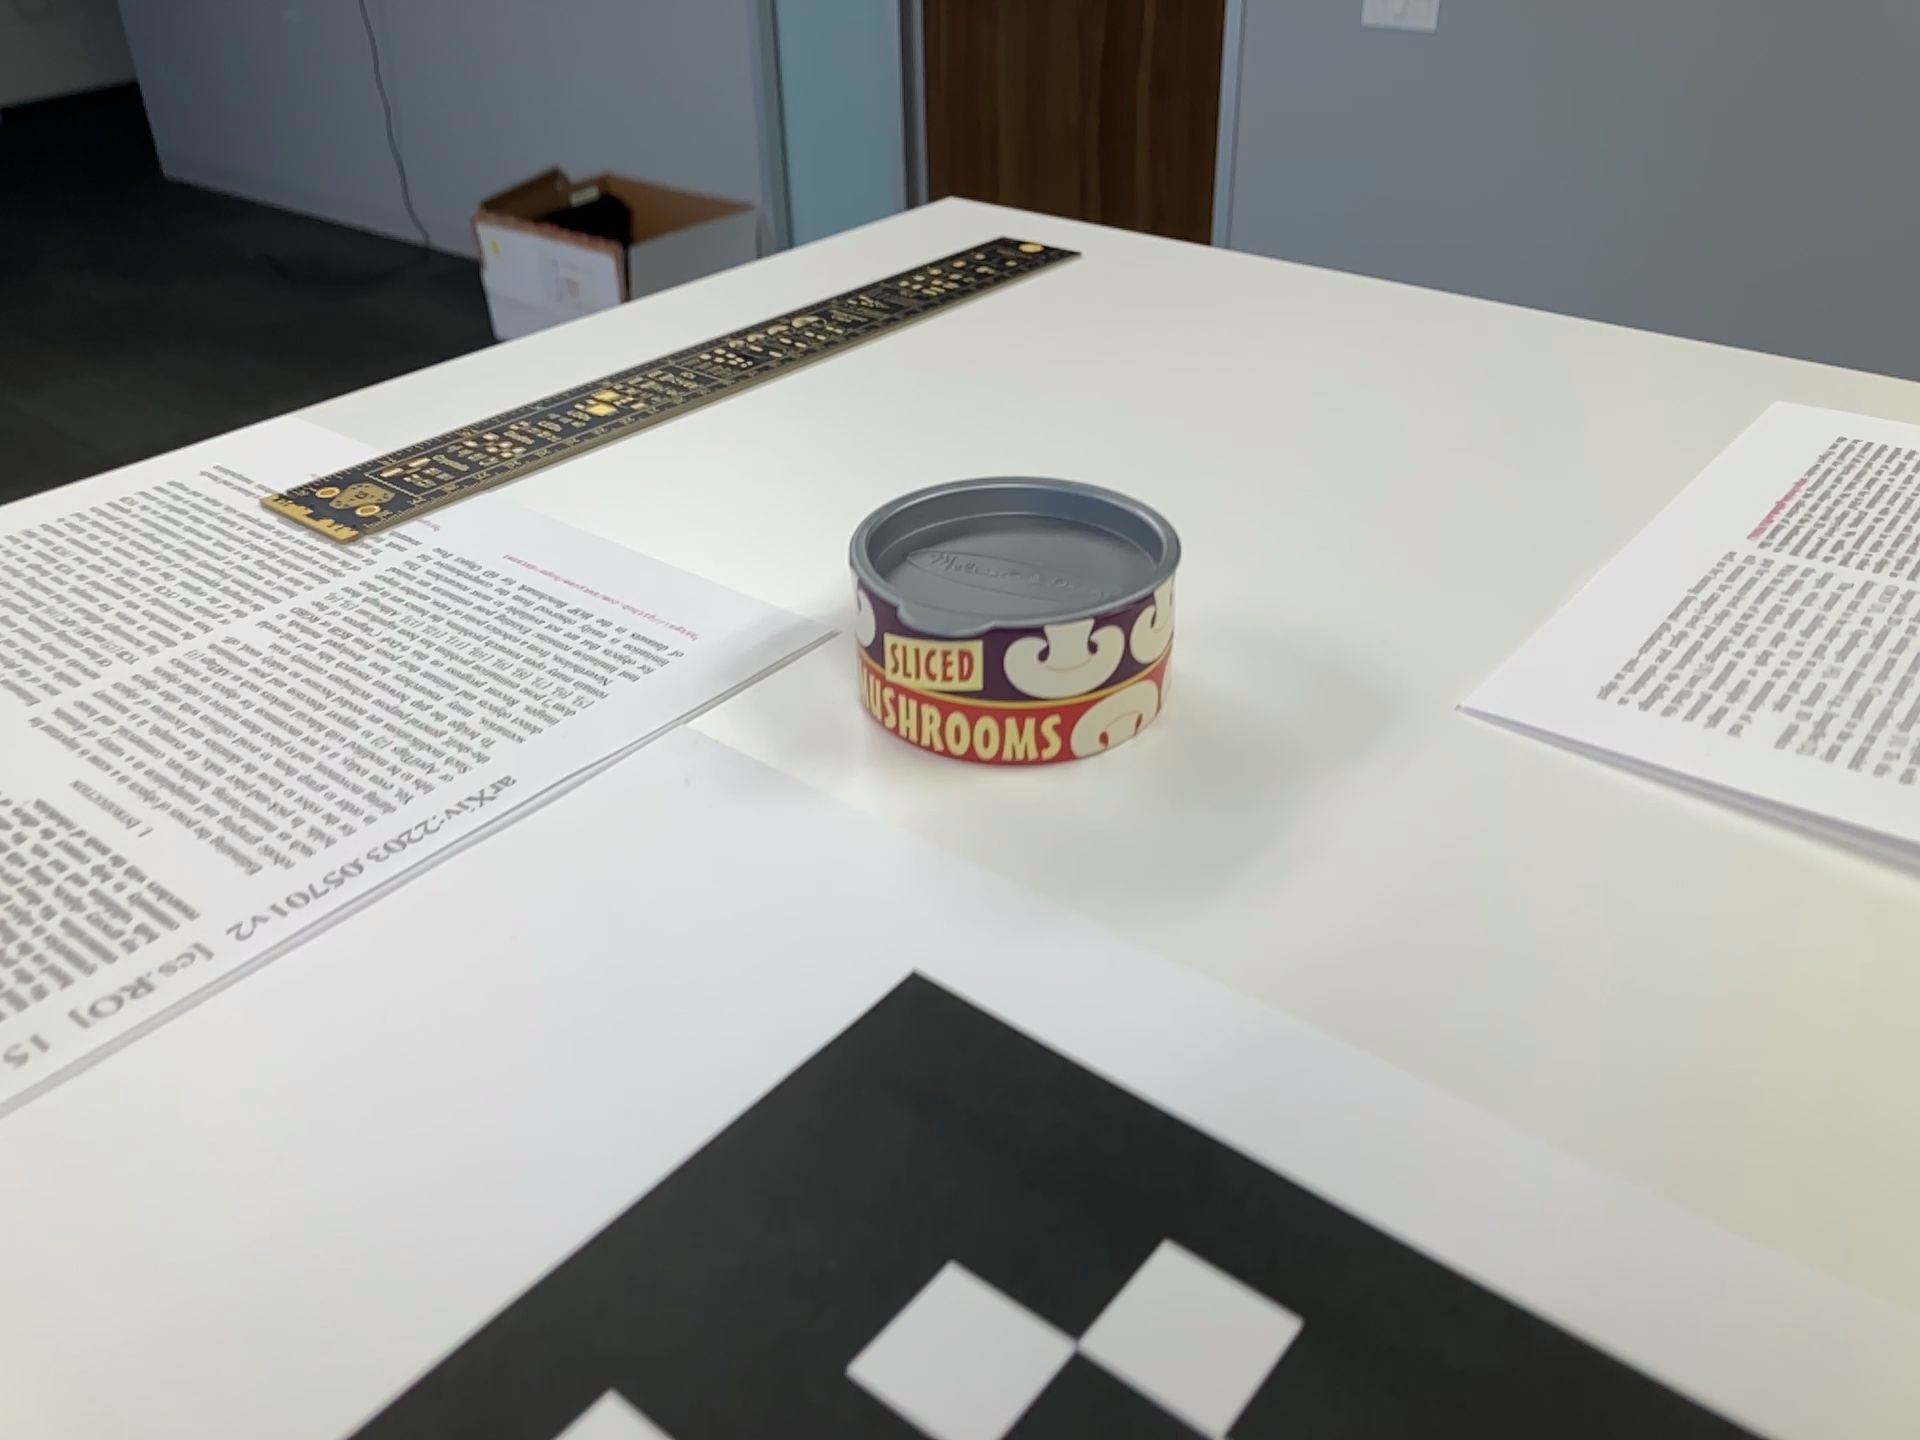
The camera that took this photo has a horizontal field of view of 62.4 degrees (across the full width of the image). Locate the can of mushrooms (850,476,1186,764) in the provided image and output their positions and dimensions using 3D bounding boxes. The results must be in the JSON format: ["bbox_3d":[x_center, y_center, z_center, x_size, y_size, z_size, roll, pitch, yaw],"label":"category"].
[{"bbox_3d":[0.010,-0.021,0.319,0.071,0.033,0.071,0,32,0],"label":"can of mushrooms"}]
